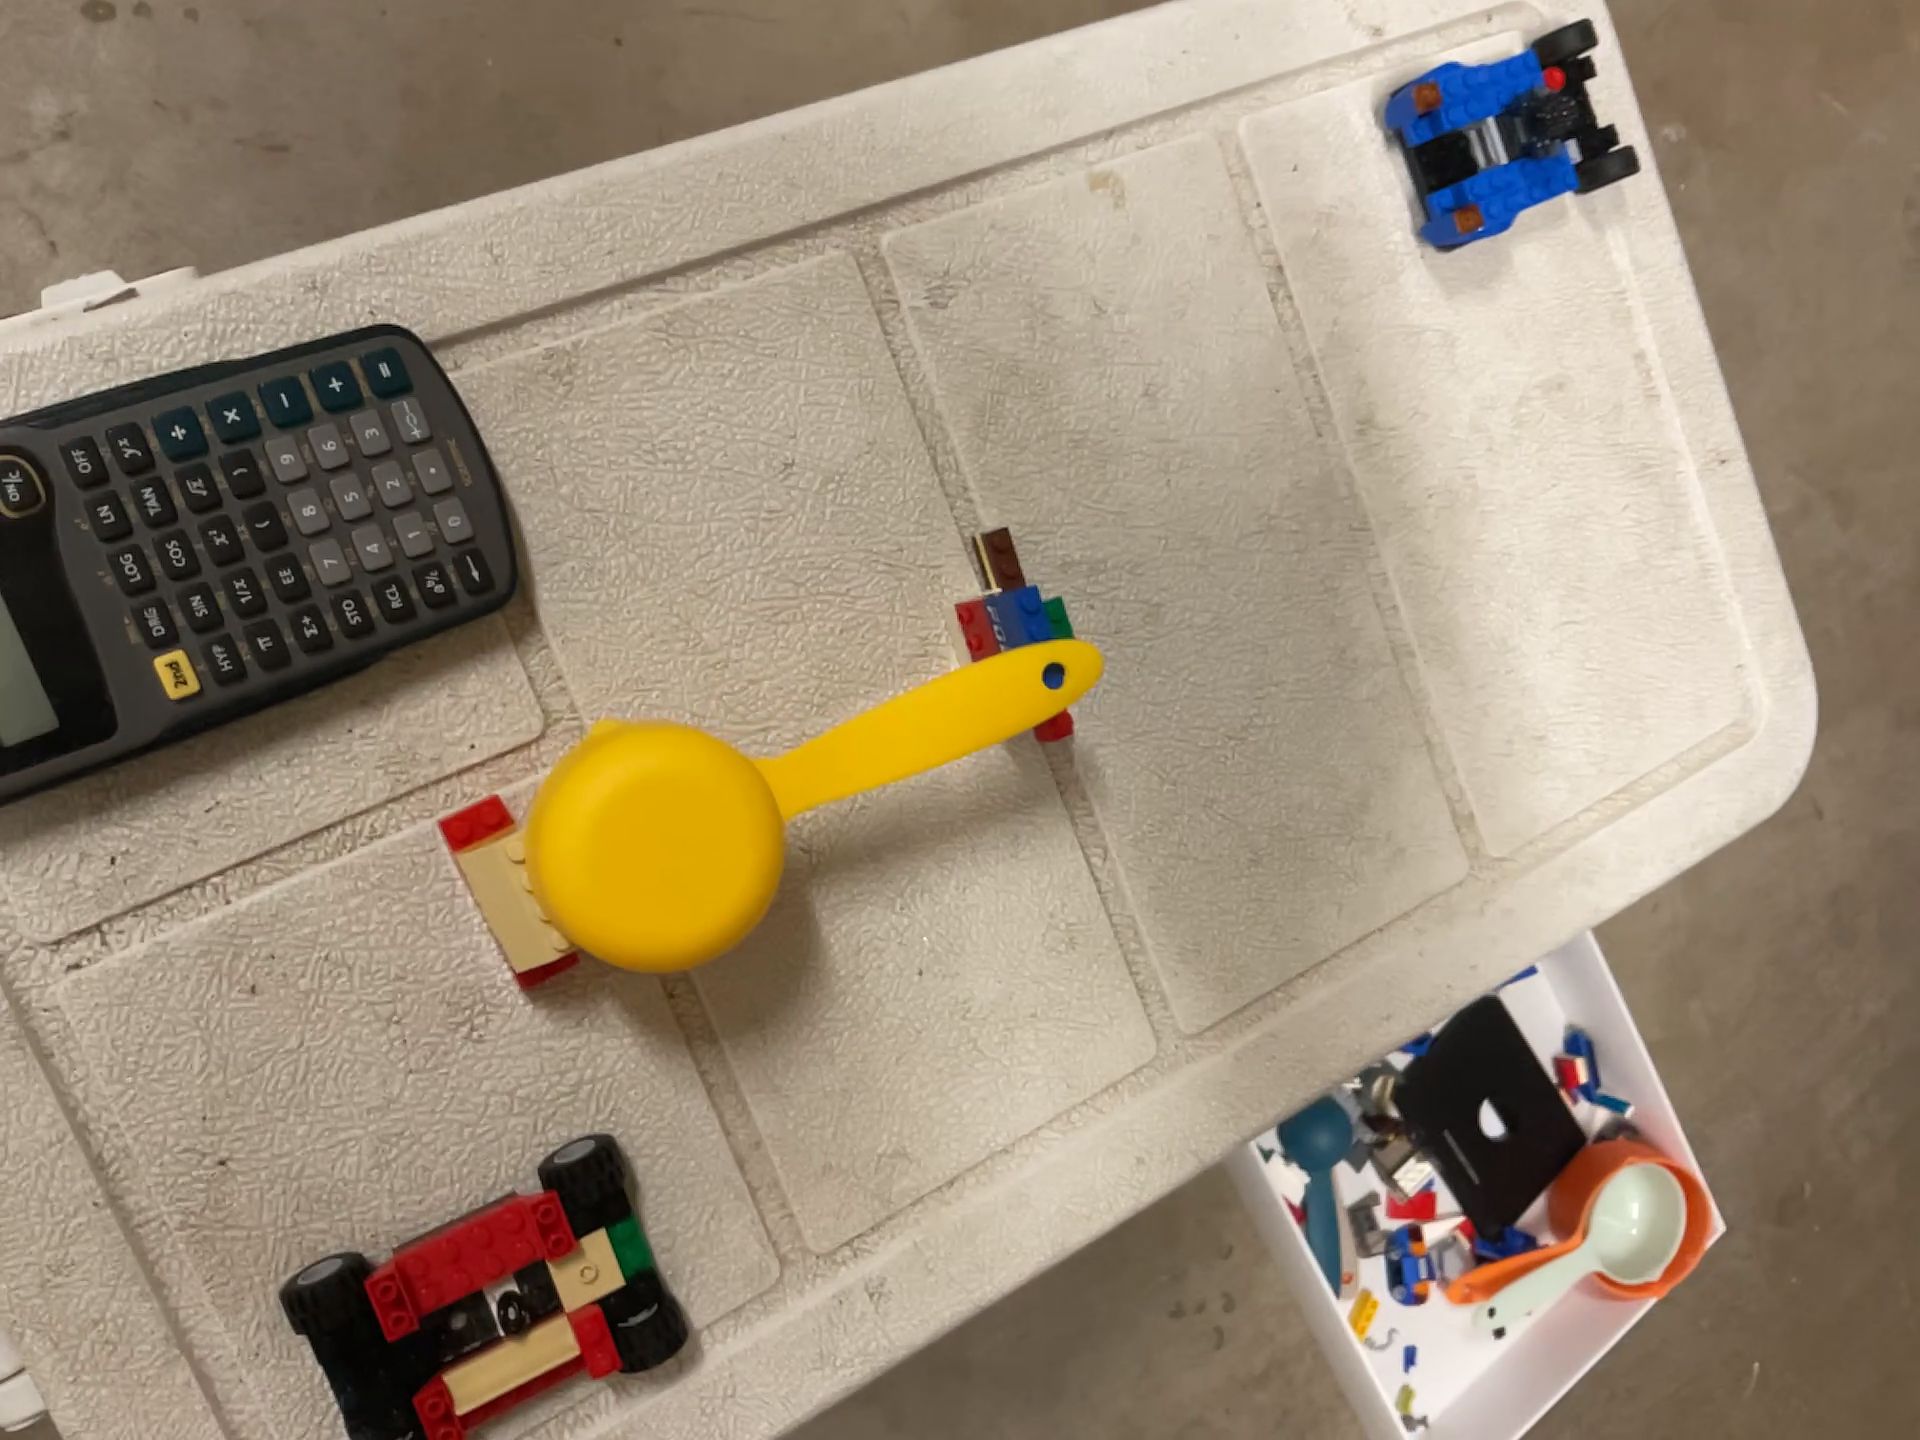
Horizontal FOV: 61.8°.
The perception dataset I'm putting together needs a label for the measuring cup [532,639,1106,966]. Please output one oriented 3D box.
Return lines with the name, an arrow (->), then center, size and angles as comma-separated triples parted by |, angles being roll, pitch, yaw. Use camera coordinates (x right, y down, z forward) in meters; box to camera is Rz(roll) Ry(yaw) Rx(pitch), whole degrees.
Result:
measuring cup -> -0.028, 0.012, 0.395 | 0.156, 0.029, 0.062 | -23, 98, -16
